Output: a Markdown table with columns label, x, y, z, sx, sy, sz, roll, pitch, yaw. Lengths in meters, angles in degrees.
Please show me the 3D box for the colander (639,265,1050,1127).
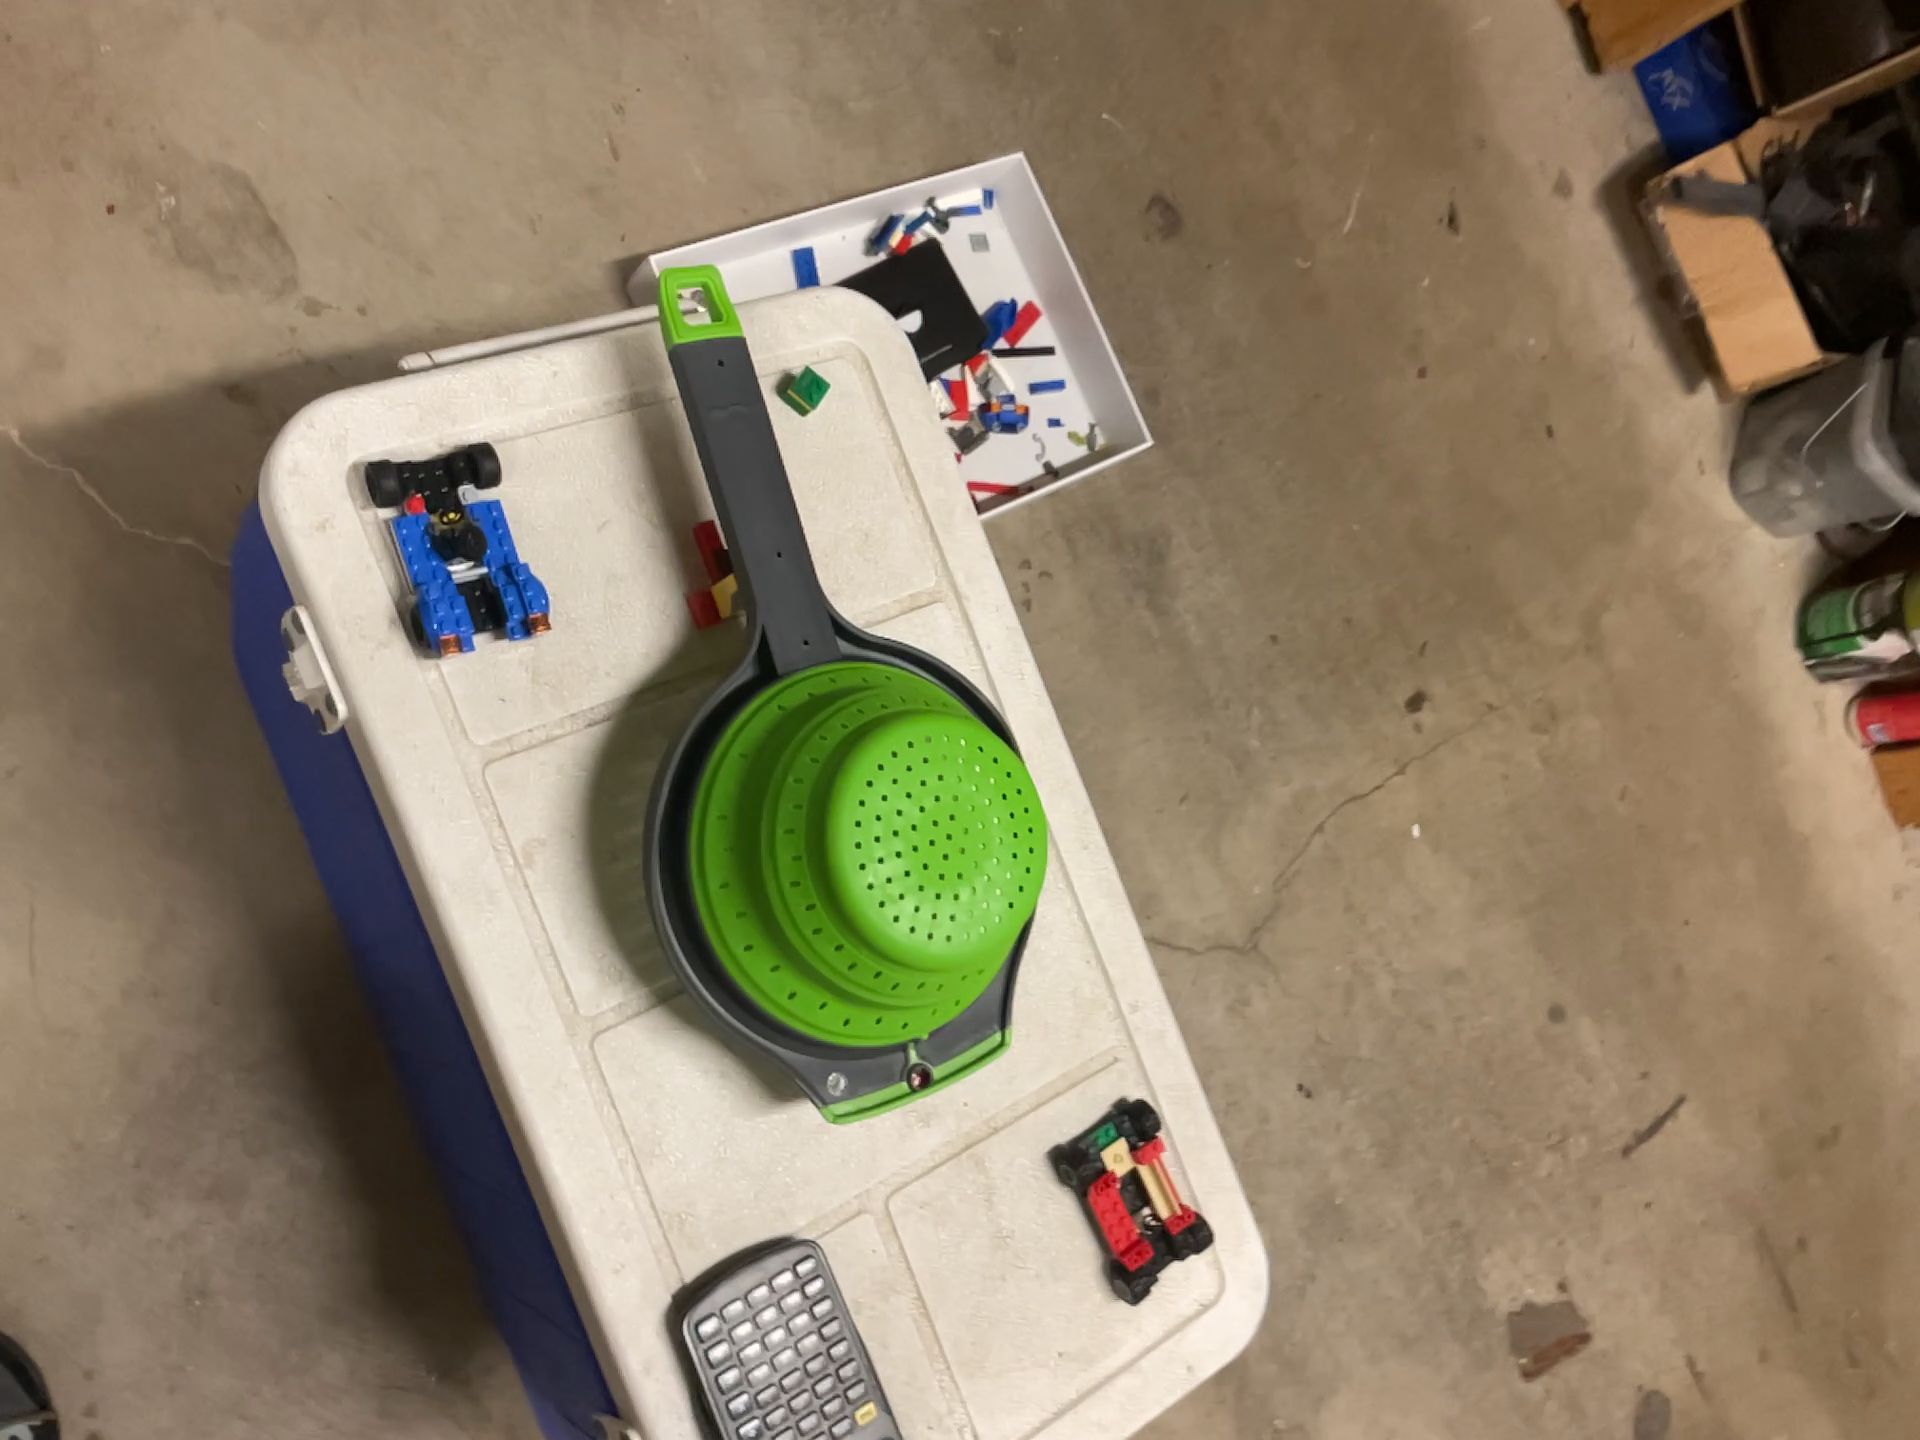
| label | x | y | z | sx | sy | sz | roll | pitch | yaw |
| --- | --- | --- | --- | --- | --- | --- | --- | --- | --- |
| colander | -0.053 | -0.023 | 0.701 | 0.204 | 0.094 | 0.397 | -17 | 89 | -32 |
